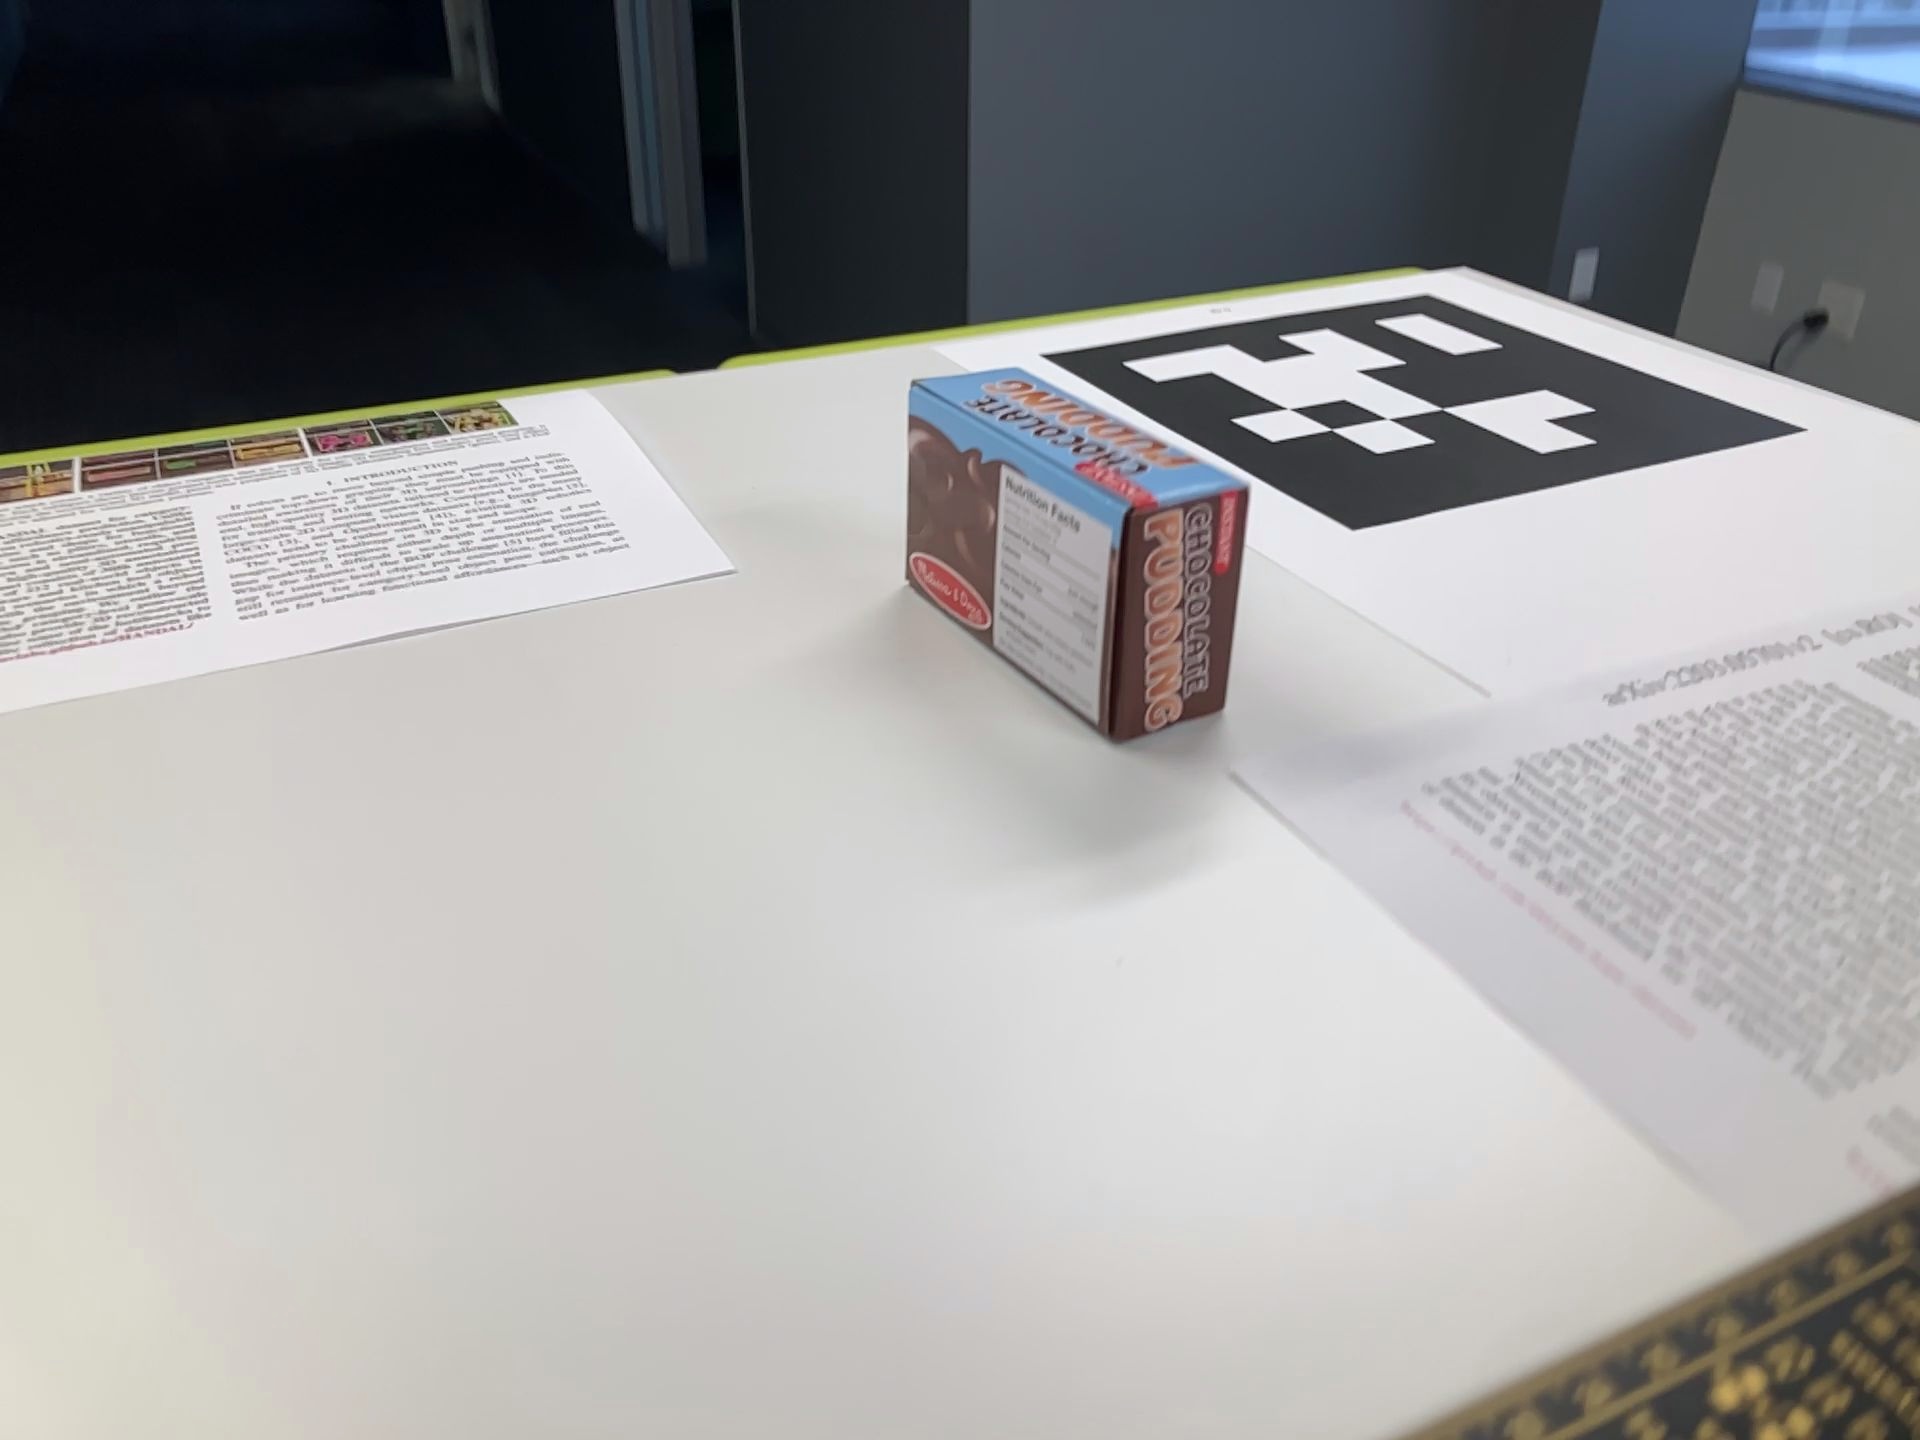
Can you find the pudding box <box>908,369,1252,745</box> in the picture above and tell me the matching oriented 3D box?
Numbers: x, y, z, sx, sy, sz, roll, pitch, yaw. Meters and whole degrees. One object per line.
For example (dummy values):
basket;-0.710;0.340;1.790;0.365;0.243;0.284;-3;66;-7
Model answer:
pudding box;0.020;-0.037;0.323;0.030;0.049;0.083;-14;32;-26
